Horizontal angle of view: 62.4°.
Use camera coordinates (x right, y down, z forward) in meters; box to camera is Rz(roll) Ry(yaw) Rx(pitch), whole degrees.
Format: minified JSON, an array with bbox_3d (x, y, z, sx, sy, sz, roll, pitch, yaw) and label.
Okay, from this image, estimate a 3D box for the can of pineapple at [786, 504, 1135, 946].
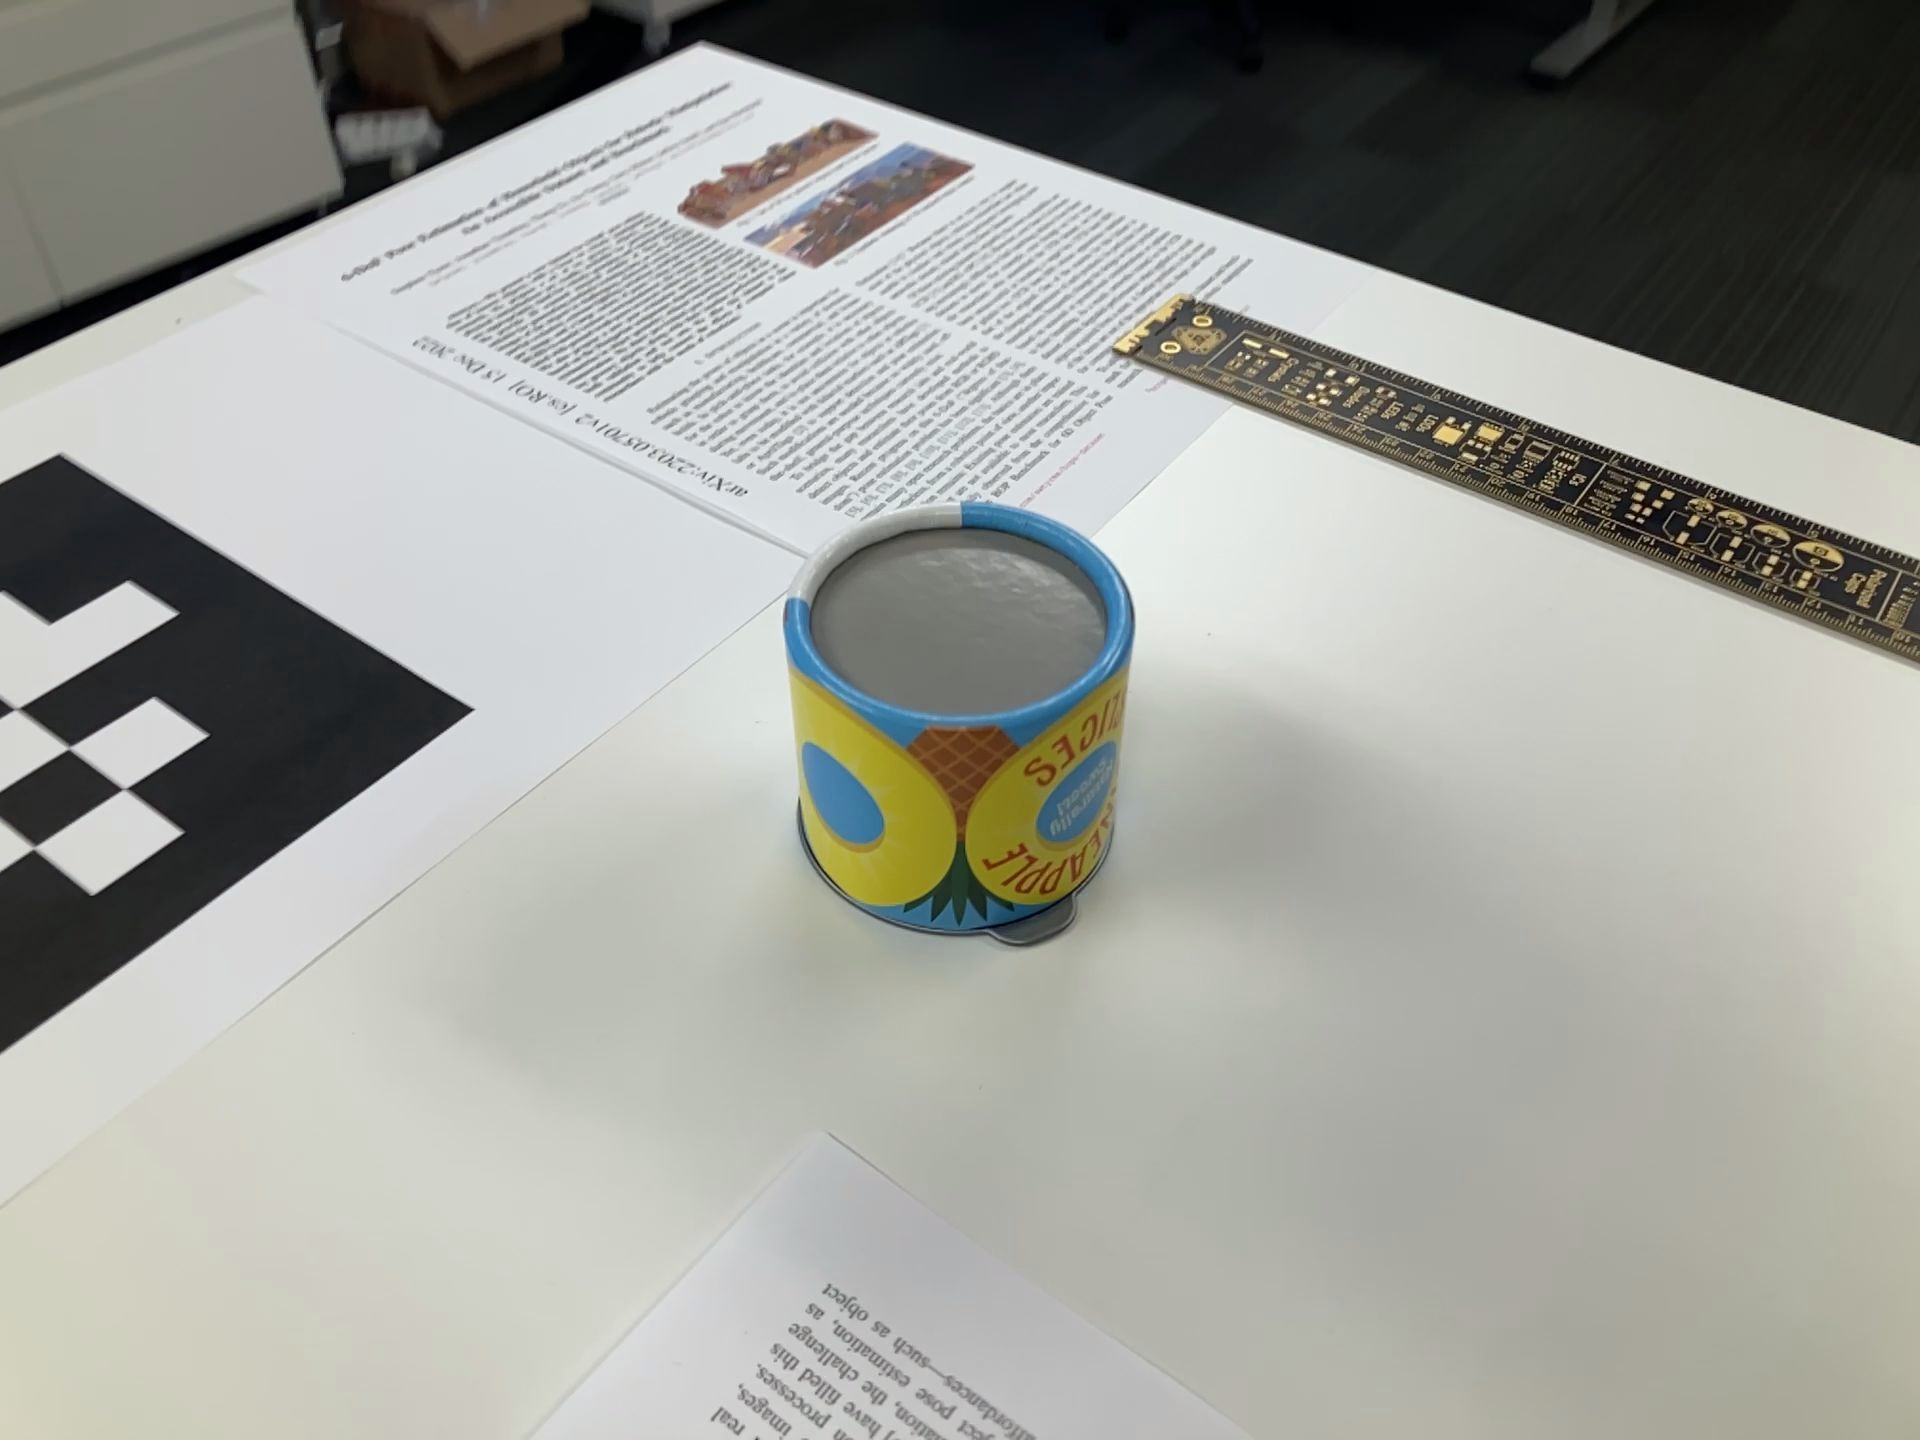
[{"bbox_3d":[0.001,0.000,0.313,0.071,0.058,0.071,1,45,-1],"label":"can of pineapple"}]
